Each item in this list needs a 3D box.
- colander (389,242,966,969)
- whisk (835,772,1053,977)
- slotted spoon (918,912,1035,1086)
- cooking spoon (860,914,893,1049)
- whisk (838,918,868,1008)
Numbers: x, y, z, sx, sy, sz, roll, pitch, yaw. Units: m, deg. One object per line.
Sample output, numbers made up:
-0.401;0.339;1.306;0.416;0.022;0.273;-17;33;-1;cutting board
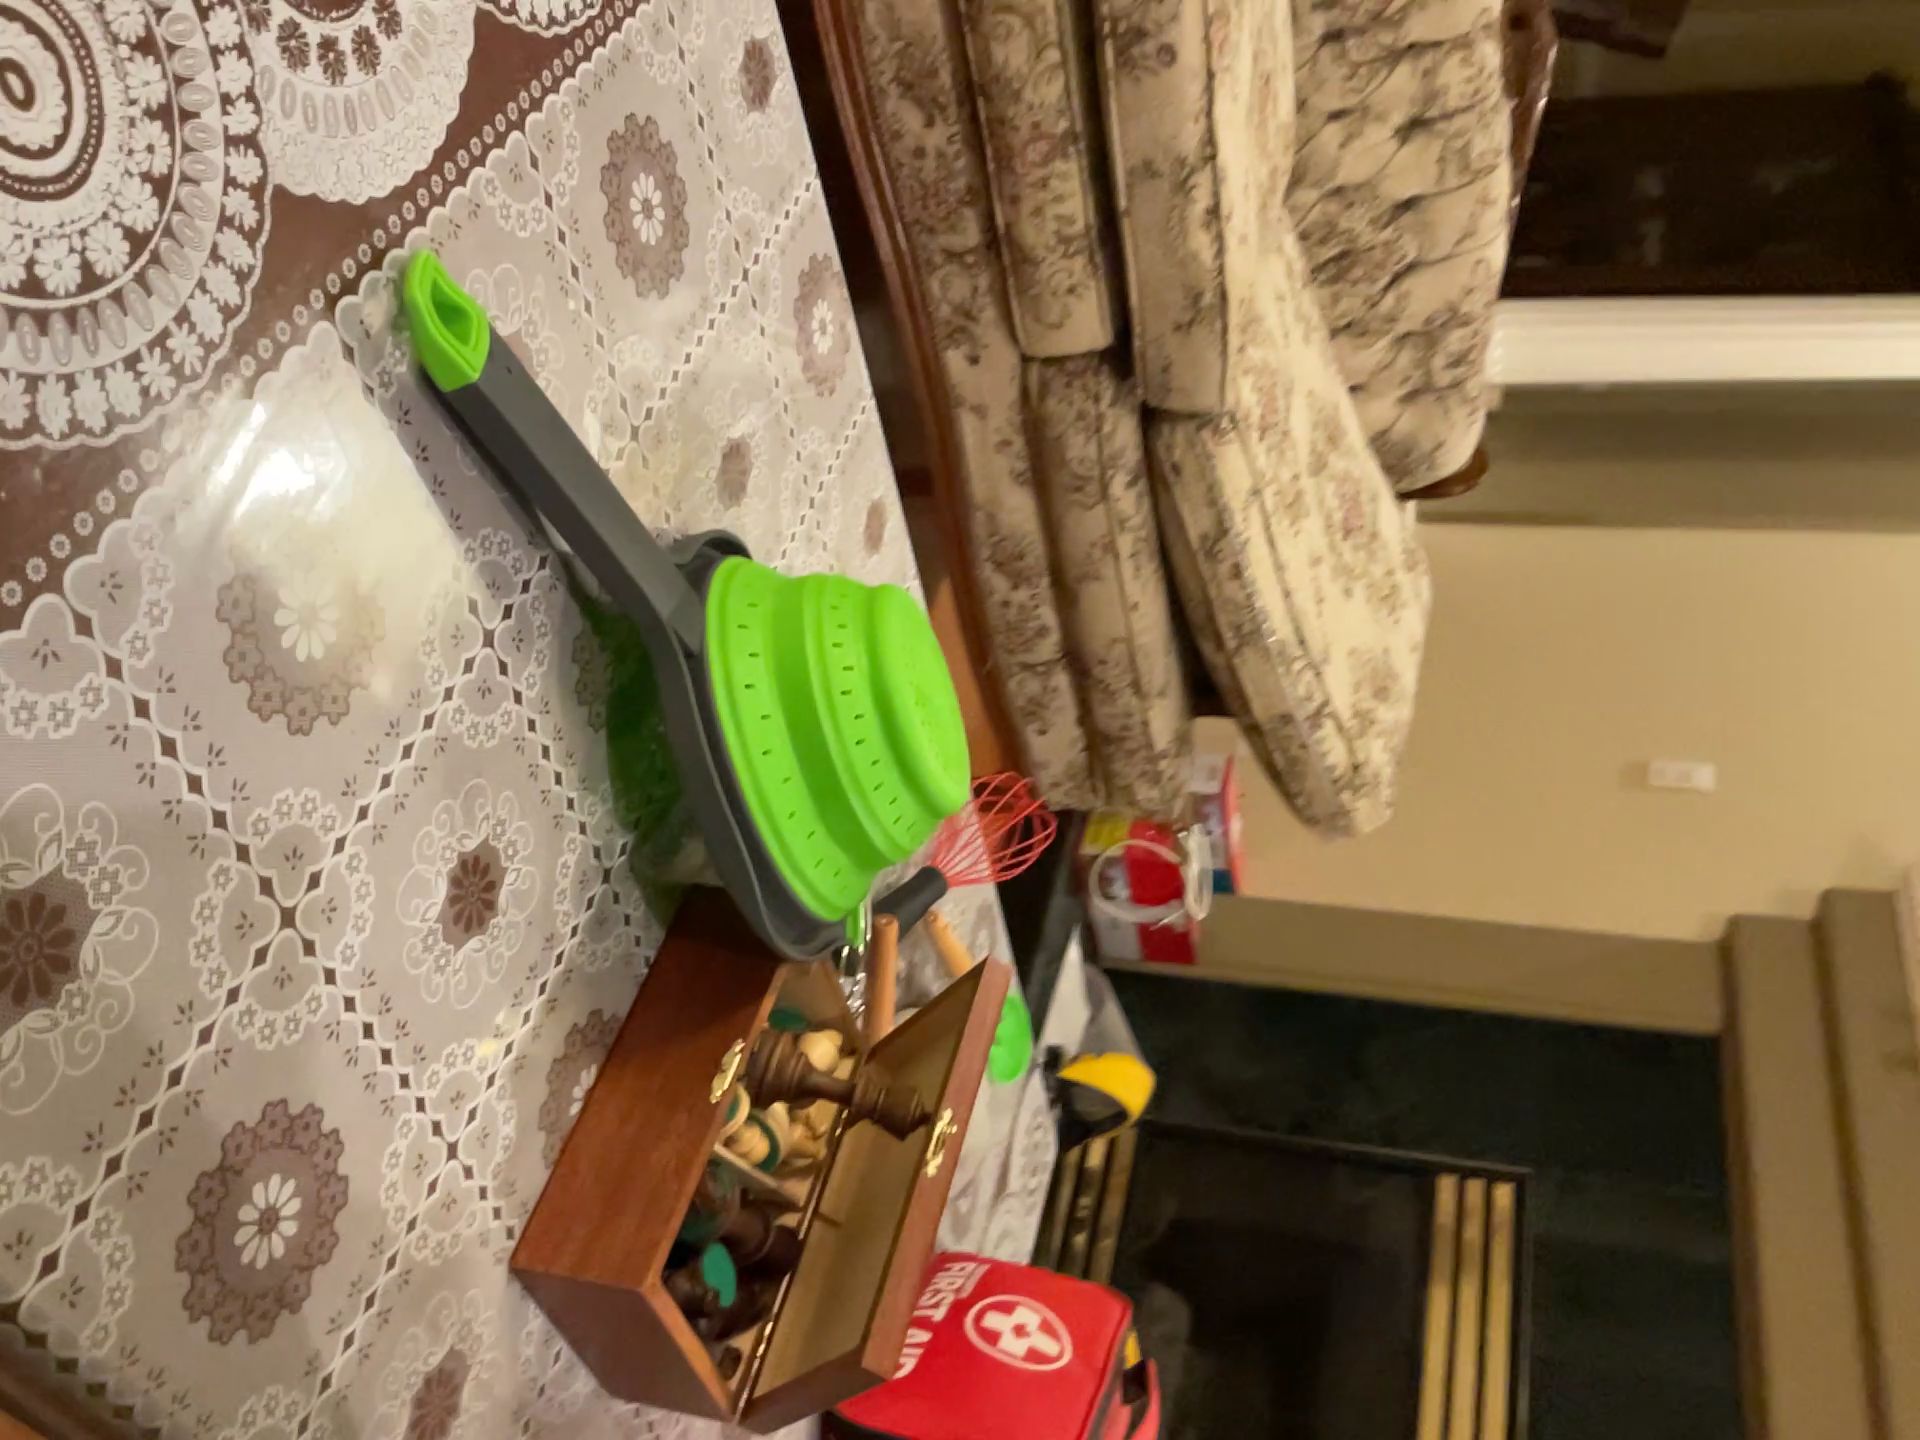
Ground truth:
-0.084;-0.044;0.657;0.396;0.094;0.205;59;18;-49;colander
-0.009;0.101;1.046;0.296;0.073;0.073;-33;131;-60;whisk
0.012;0.195;1.133;0.313;0.031;0.070;65;33;-60;slotted spoon
-0.051;0.233;0.912;0.069;0.017;0.318;-64;162;-53;cooking spoon
-0.064;0.056;0.899;0.058;0.059;0.247;-35;-140;57;whisk
